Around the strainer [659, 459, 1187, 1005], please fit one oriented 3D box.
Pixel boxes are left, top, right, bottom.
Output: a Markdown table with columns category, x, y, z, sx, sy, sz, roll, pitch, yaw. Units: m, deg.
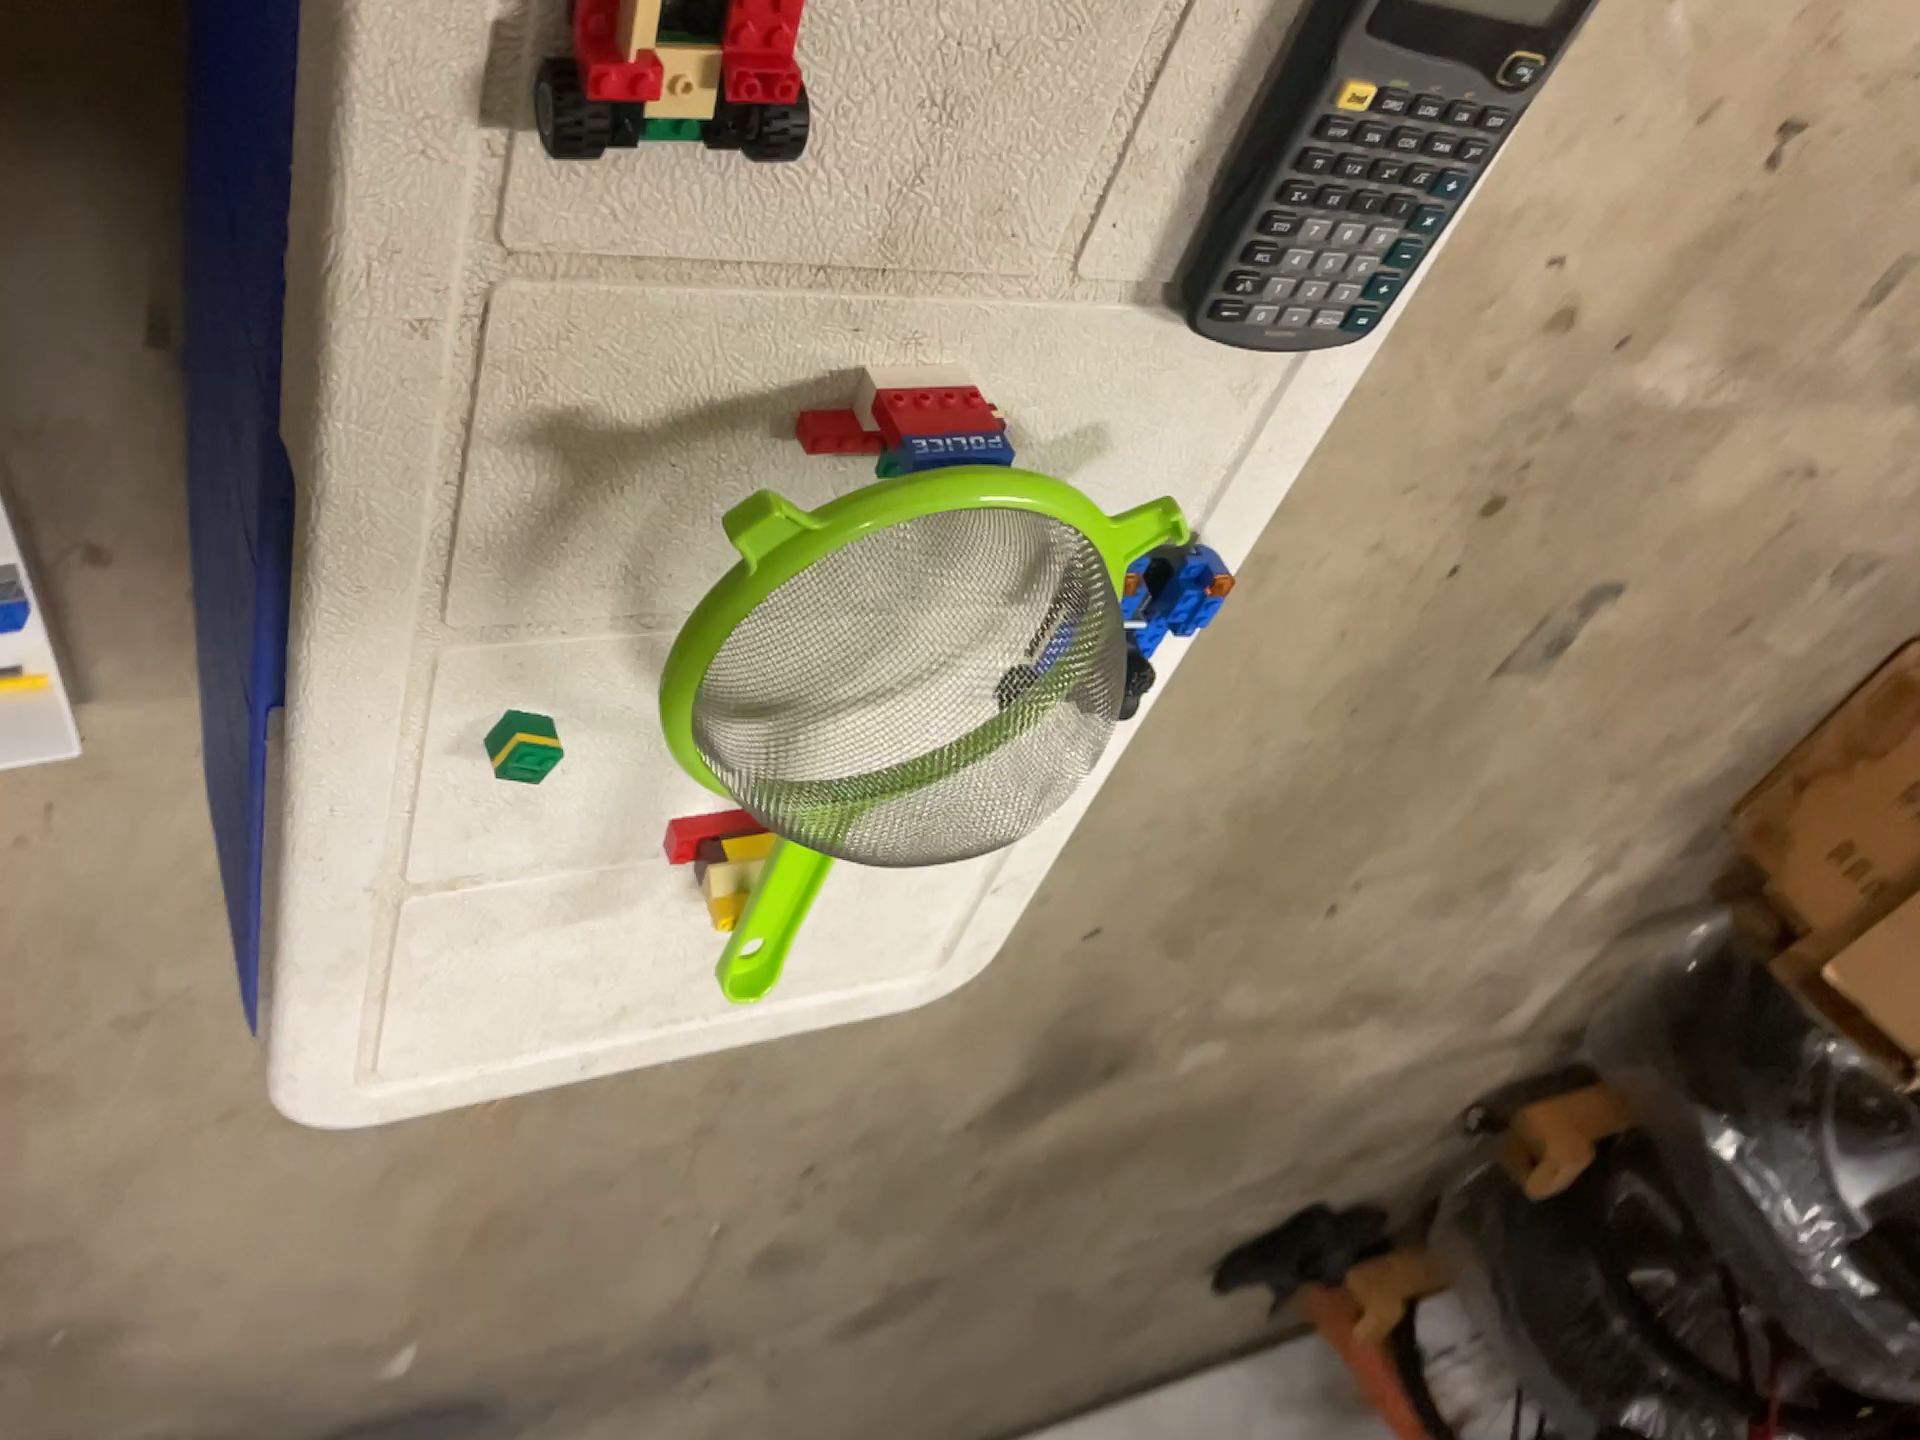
| category | x | y | z | sx | sy | sz | roll | pitch | yaw |
| --- | --- | --- | --- | --- | --- | --- | --- | --- | --- |
| strainer | -0.027 | 0.034 | 0.509 | 0.151 | 0.069 | 0.256 | -5 | 141 | -33 |
